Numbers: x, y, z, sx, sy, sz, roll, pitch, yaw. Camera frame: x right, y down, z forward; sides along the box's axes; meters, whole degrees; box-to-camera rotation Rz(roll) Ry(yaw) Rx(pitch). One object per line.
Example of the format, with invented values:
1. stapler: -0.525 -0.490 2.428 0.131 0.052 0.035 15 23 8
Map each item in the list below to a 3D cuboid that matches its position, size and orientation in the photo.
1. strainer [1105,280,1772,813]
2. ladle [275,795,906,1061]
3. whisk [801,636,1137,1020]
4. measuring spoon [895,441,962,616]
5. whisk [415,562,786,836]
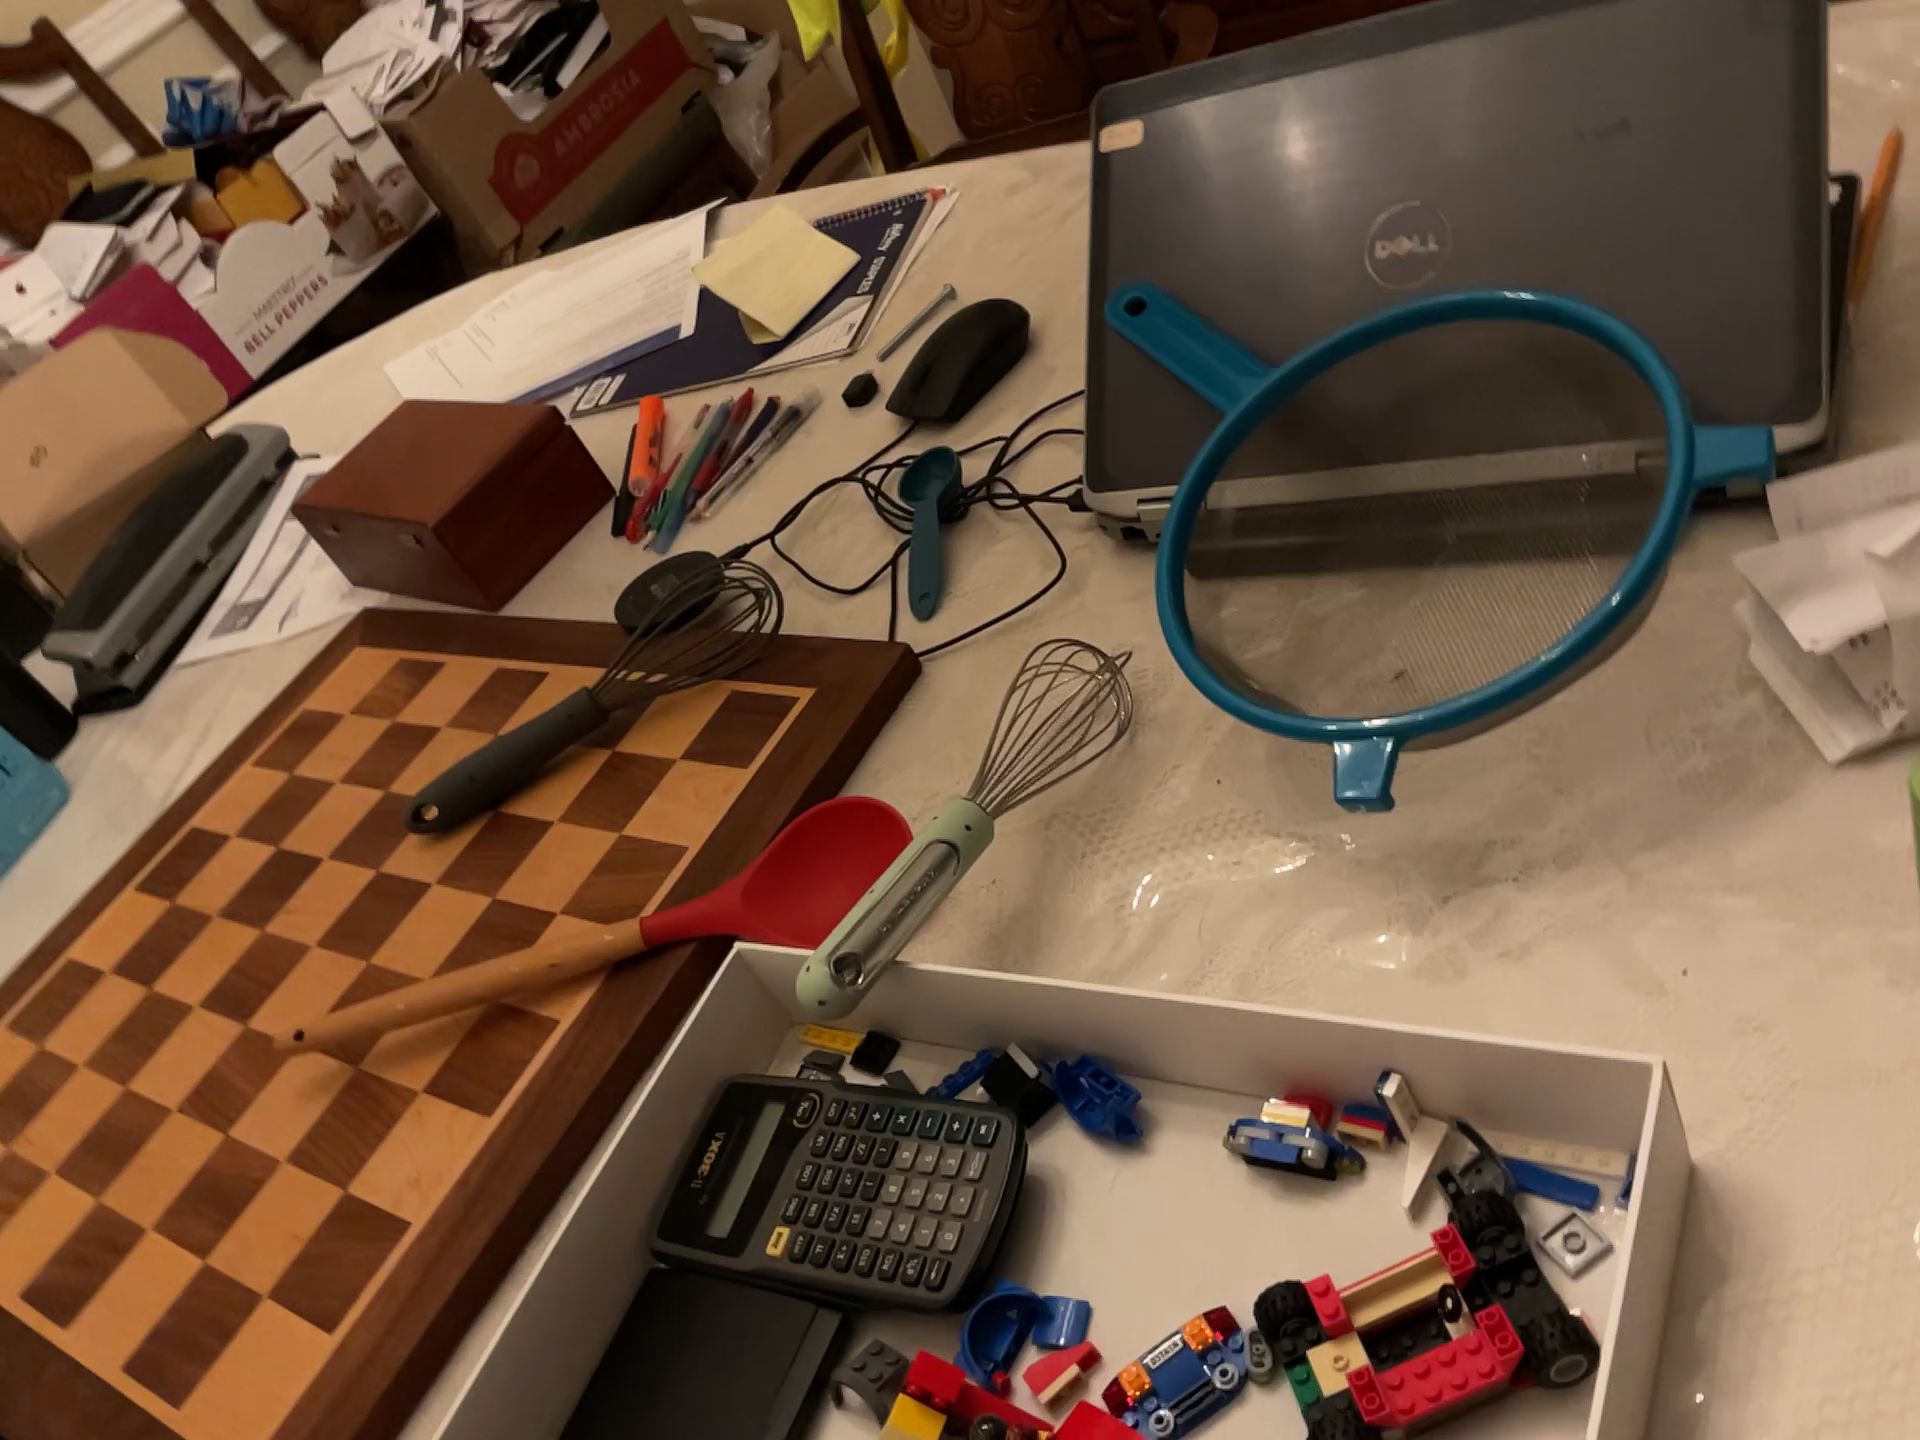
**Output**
1. strainer: 0.166 -0.099 0.689 0.211 0.095 0.341 -42 42 6
2. ladle: -0.168 0.105 0.718 0.315 0.031 0.069 -18 60 8
3. whisk: 0.010 0.037 0.654 0.059 0.058 0.246 -36 8 47
4. measuring spoon: -0.014 -0.104 0.891 0.042 0.021 0.129 -21 49 24
5. whisk: -0.194 -0.009 0.858 0.239 0.055 0.055 -34 23 2
